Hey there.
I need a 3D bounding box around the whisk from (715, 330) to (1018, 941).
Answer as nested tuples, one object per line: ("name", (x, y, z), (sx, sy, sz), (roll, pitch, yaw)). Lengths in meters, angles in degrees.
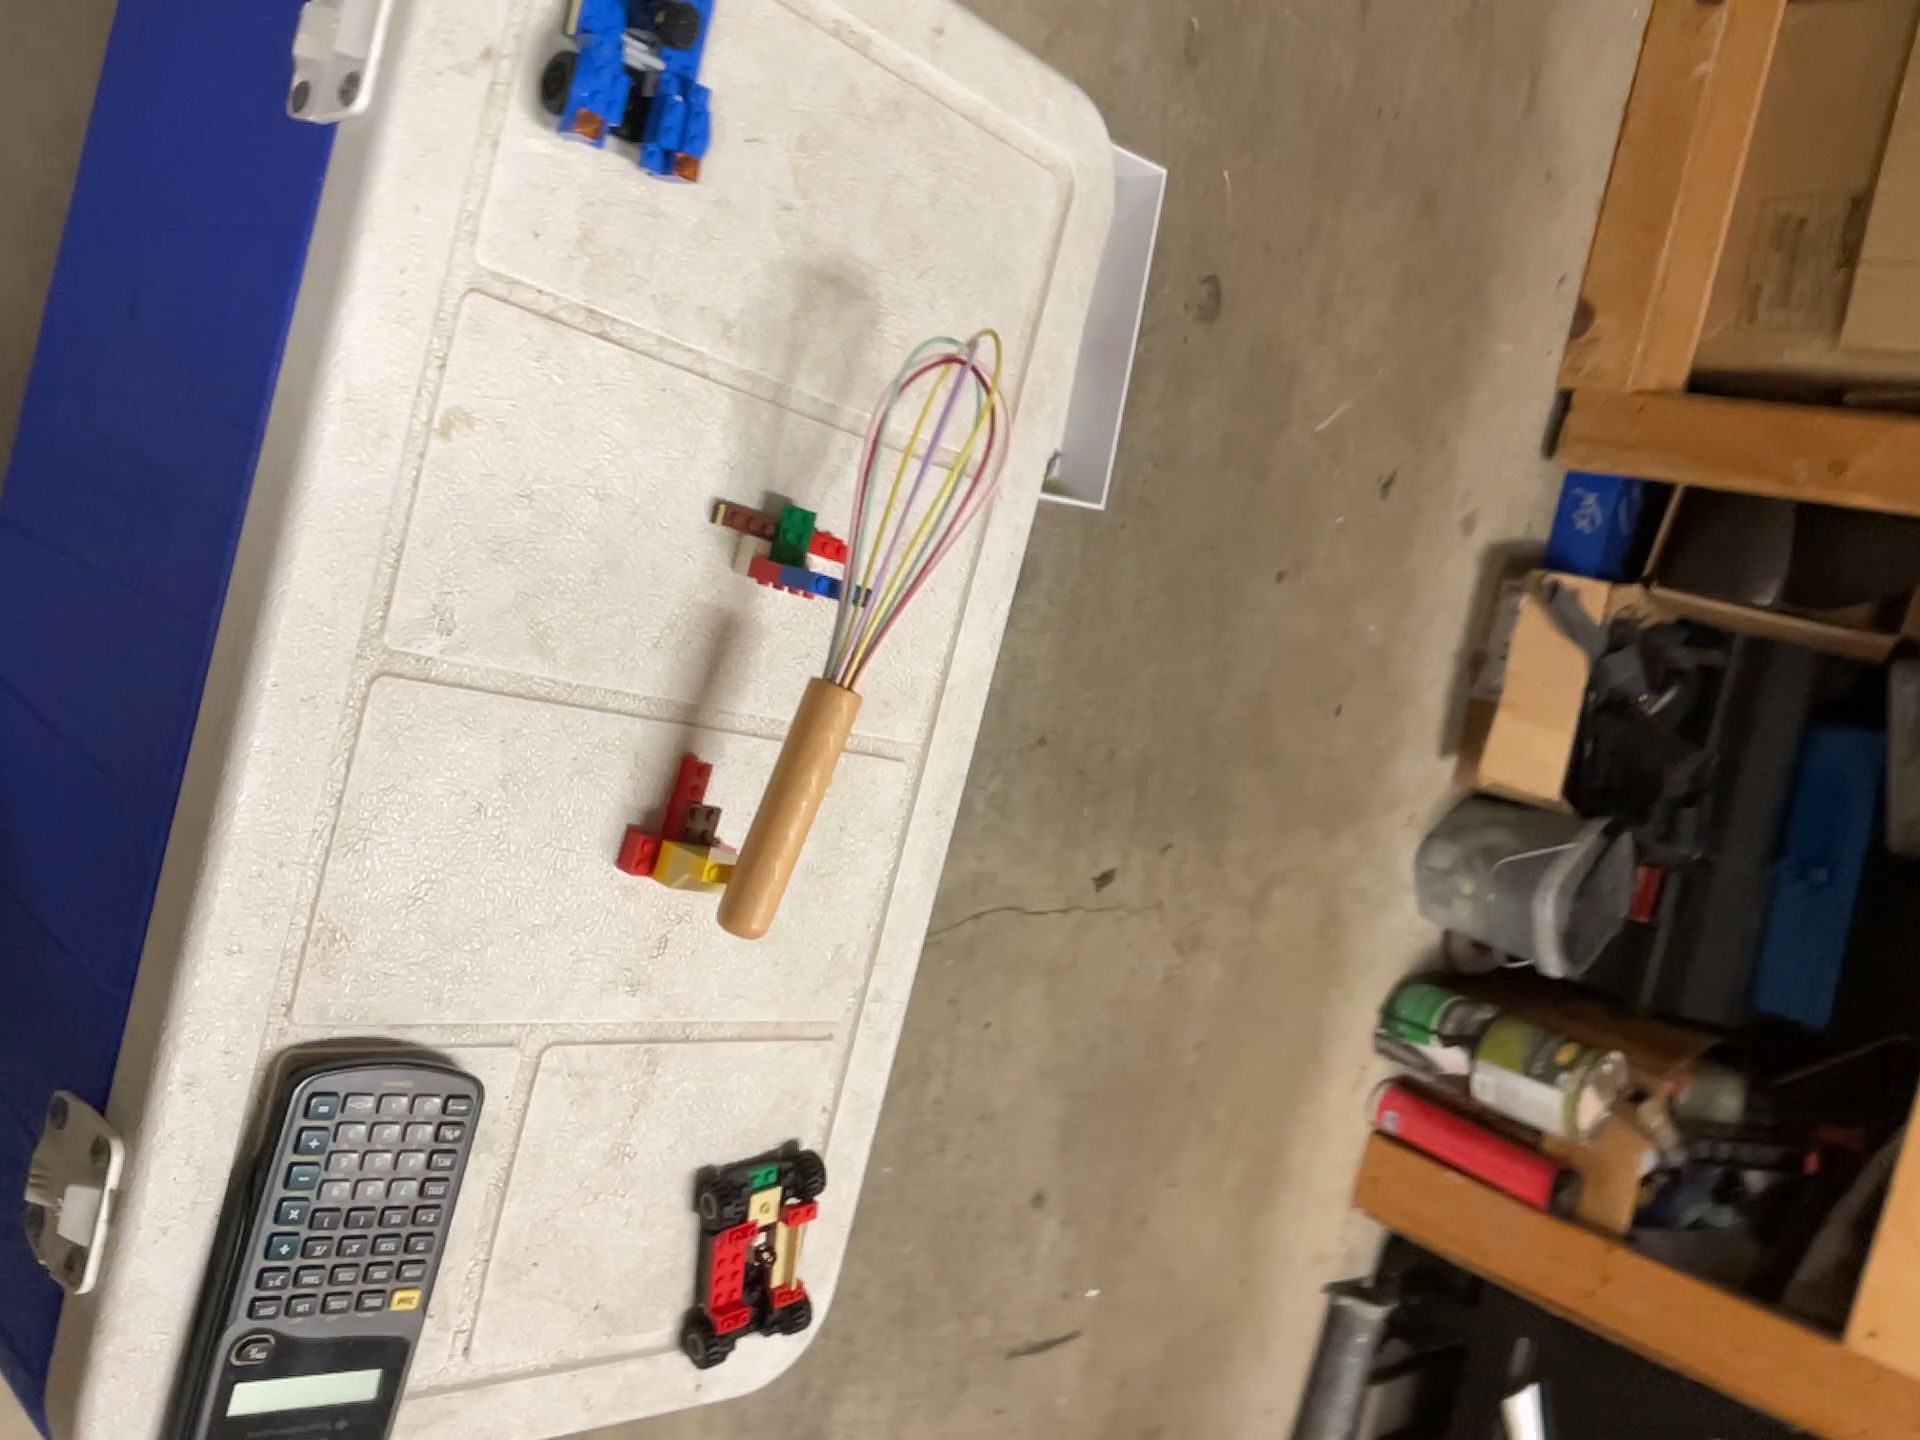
("whisk", (-0.037, -0.033, 0.592), (0.051, 0.047, 0.245), (24, 88, -60))
